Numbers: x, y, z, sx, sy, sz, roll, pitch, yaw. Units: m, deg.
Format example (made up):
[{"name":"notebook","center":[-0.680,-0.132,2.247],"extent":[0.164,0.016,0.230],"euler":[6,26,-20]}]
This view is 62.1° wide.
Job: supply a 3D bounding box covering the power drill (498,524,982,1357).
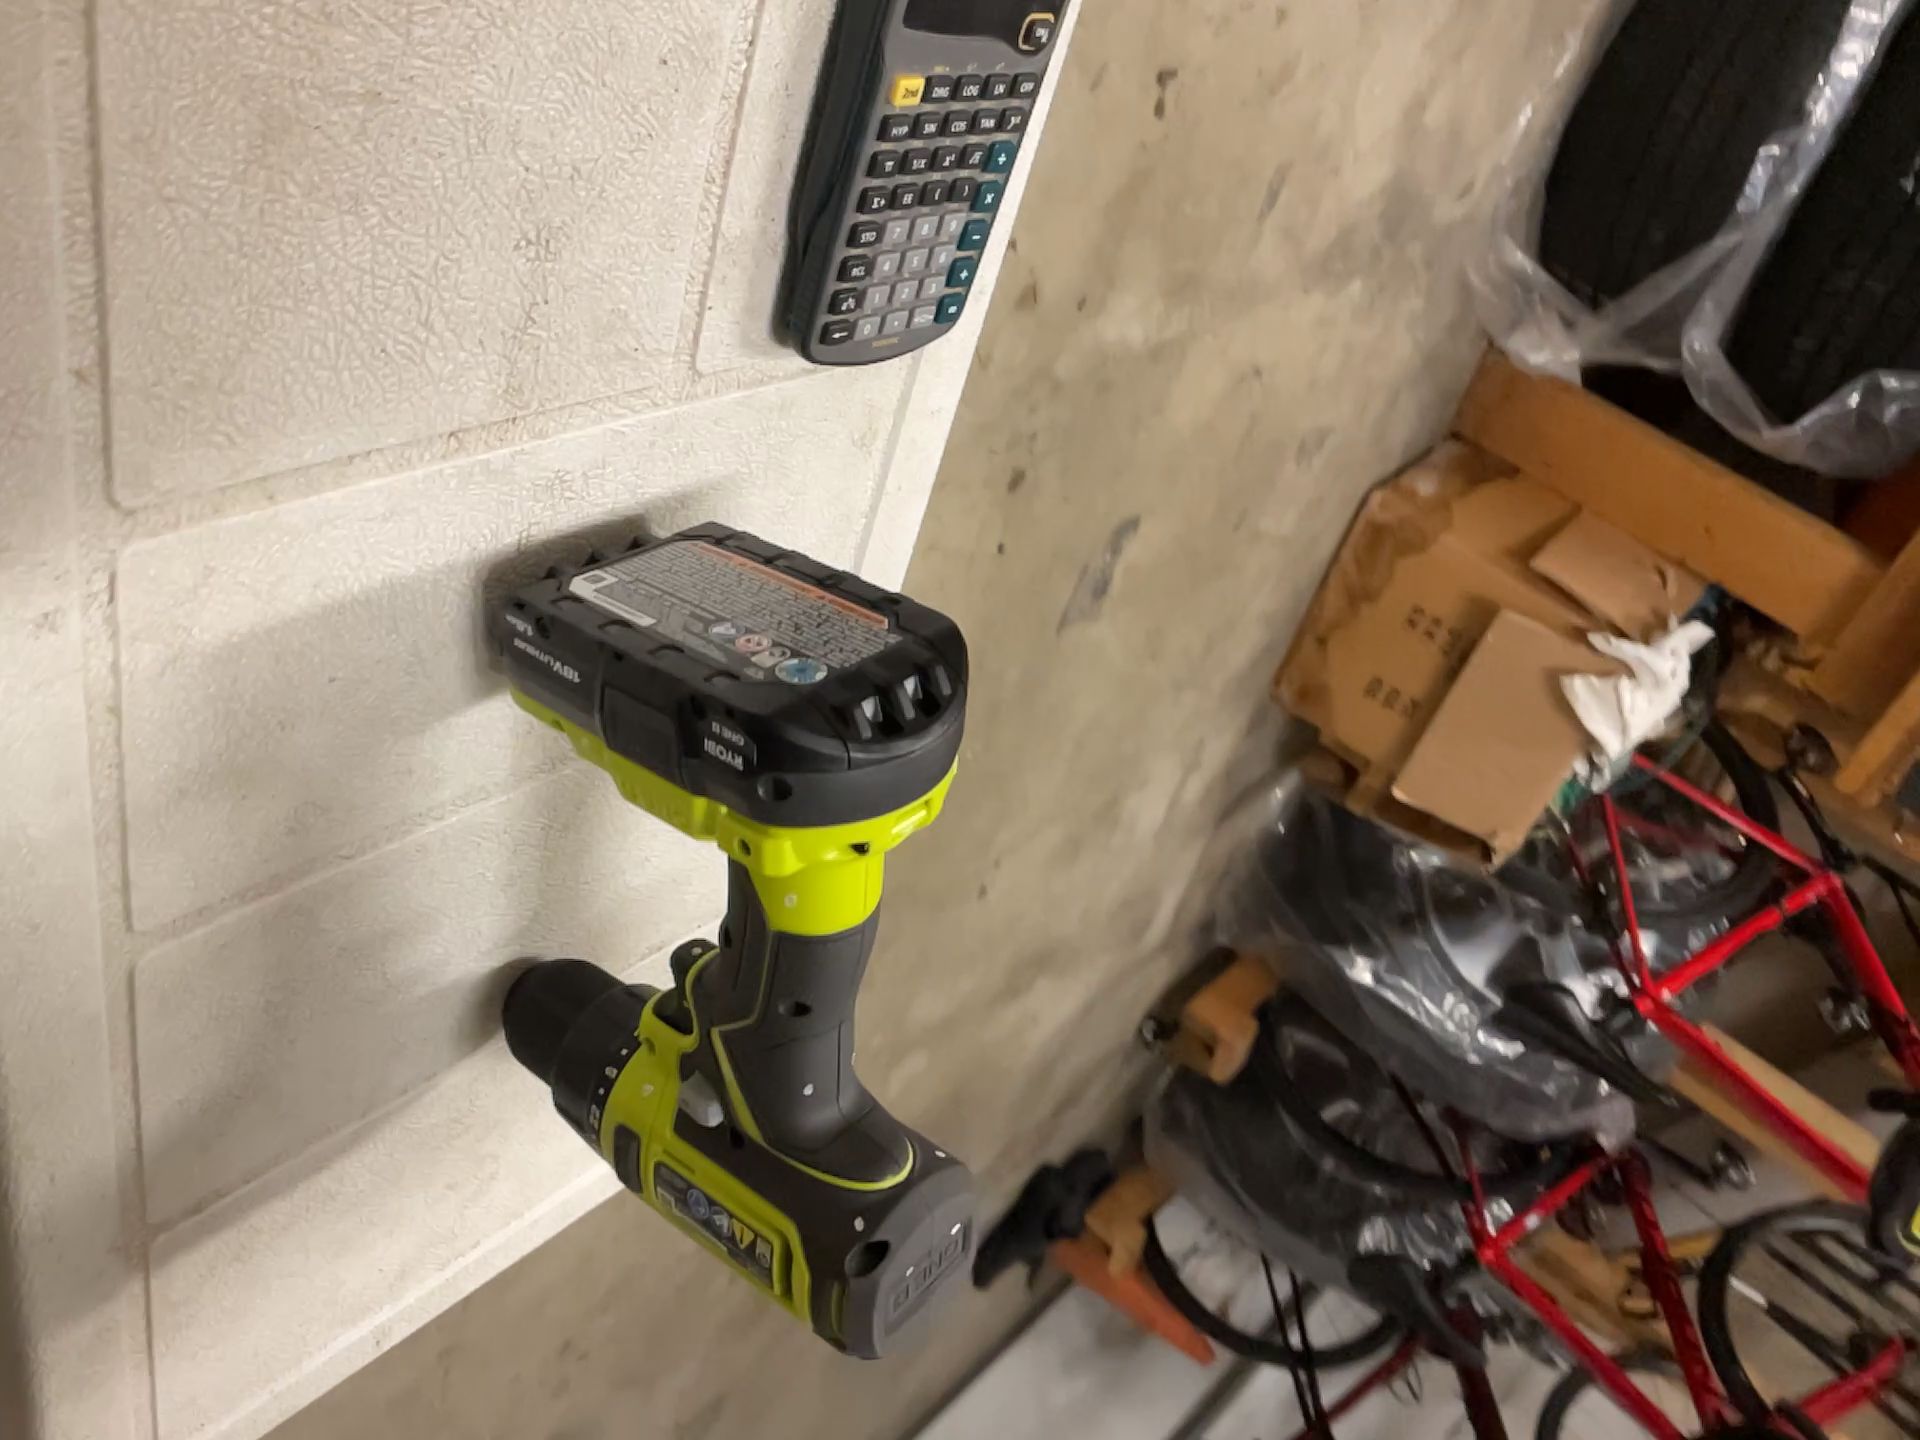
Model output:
[{"name":"power drill","center":[-0.078,0.064,0.490],"extent":[0.080,0.190,0.228],"euler":[-29,133,-43]}]
